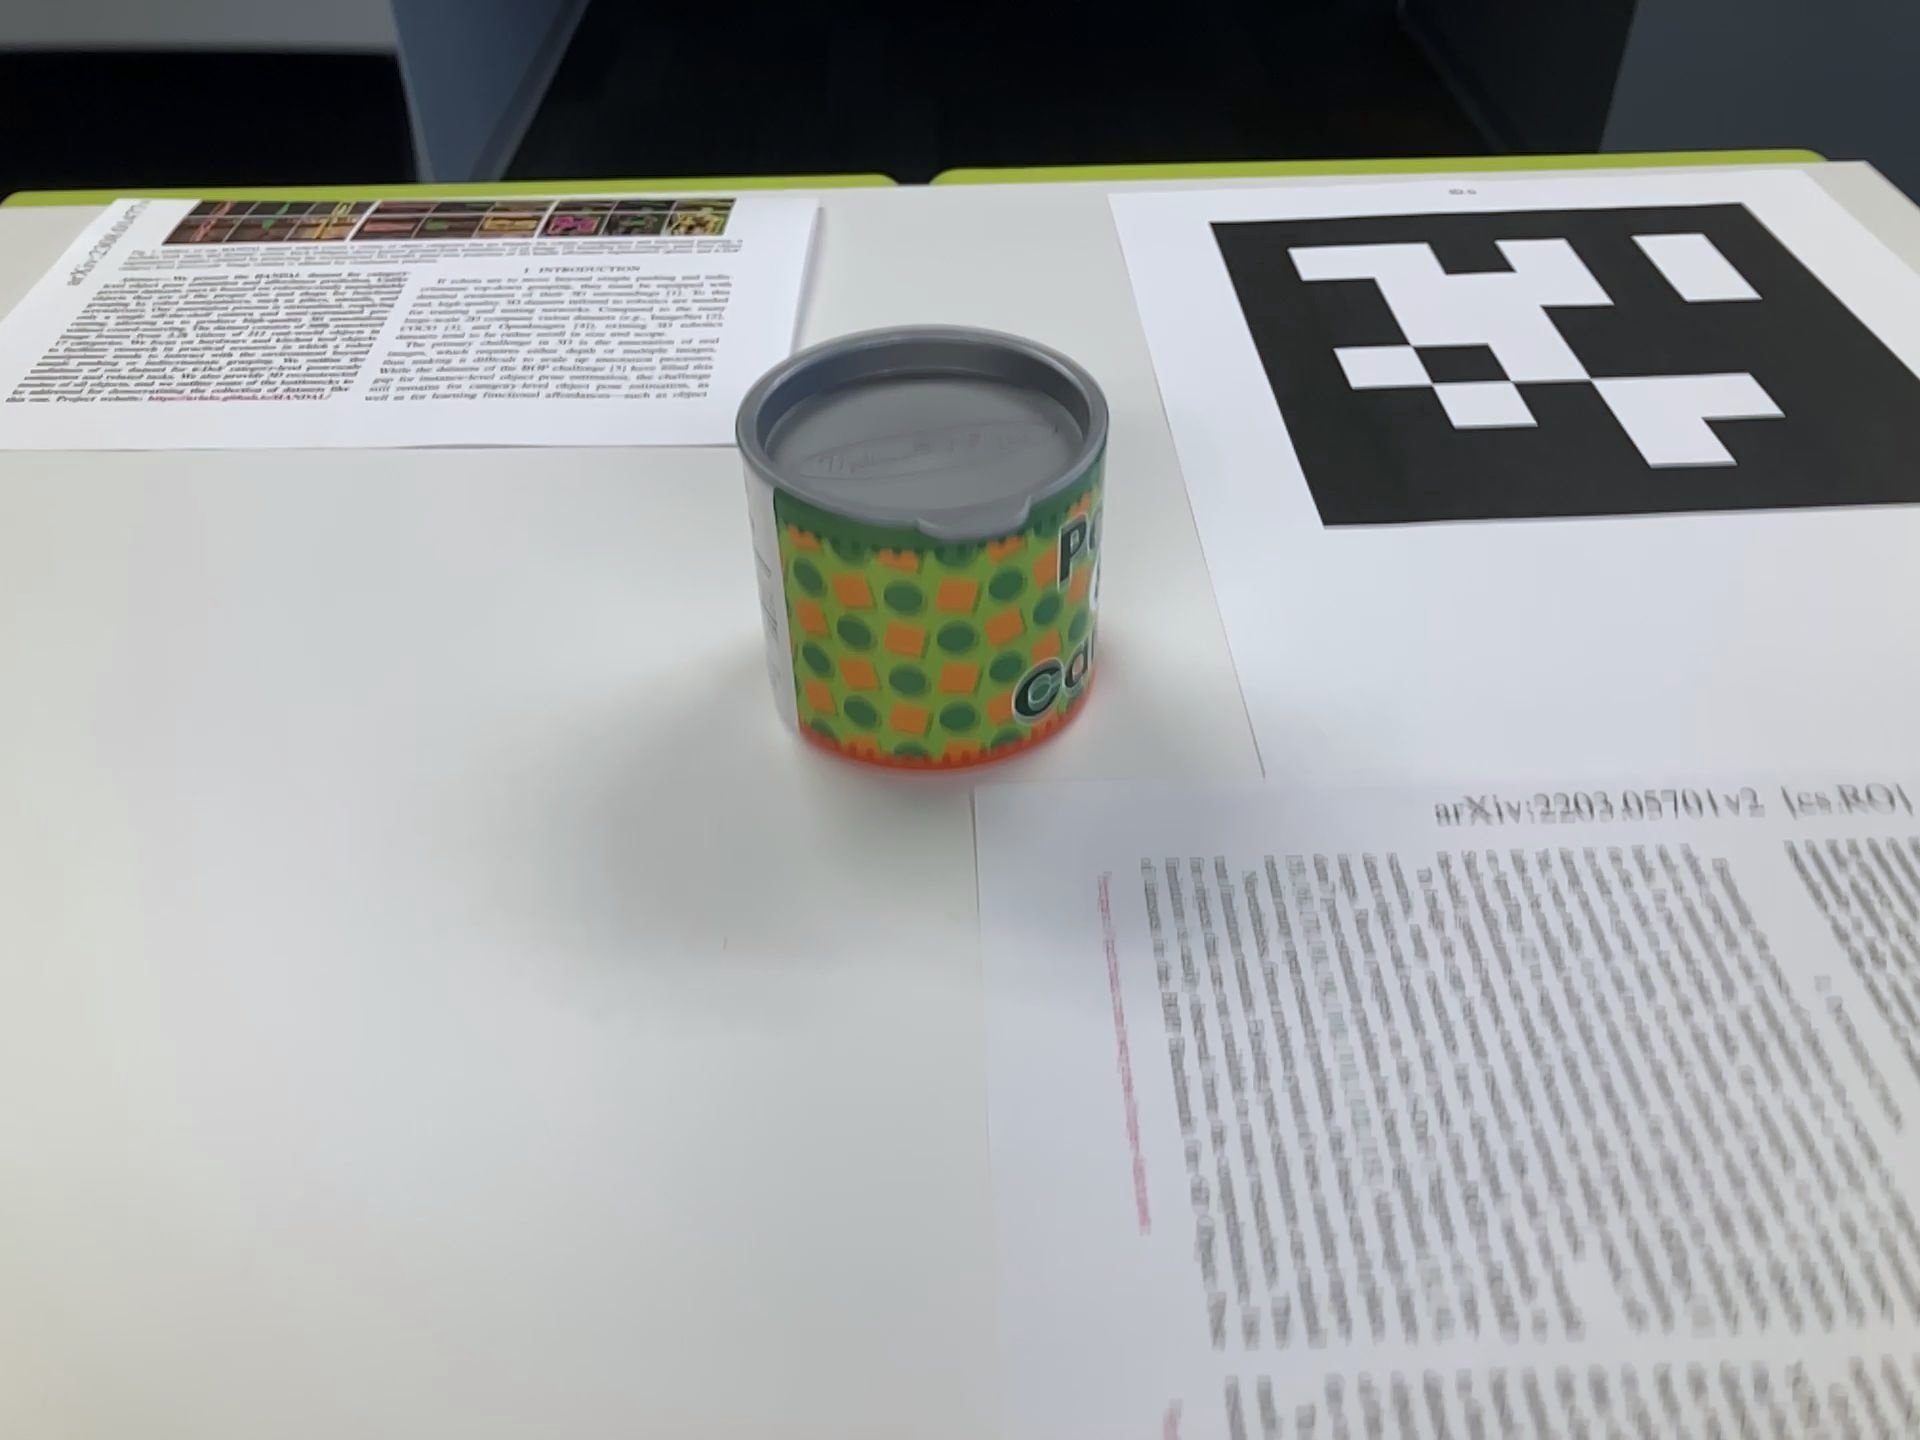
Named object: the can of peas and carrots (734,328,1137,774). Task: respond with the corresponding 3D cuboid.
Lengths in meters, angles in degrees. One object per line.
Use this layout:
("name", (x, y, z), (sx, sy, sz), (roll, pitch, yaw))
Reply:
("can of peas and carrots", (-0.004, -0.032, 0.298), (0.071, 0.059, 0.071), (-1, 41, 1))
